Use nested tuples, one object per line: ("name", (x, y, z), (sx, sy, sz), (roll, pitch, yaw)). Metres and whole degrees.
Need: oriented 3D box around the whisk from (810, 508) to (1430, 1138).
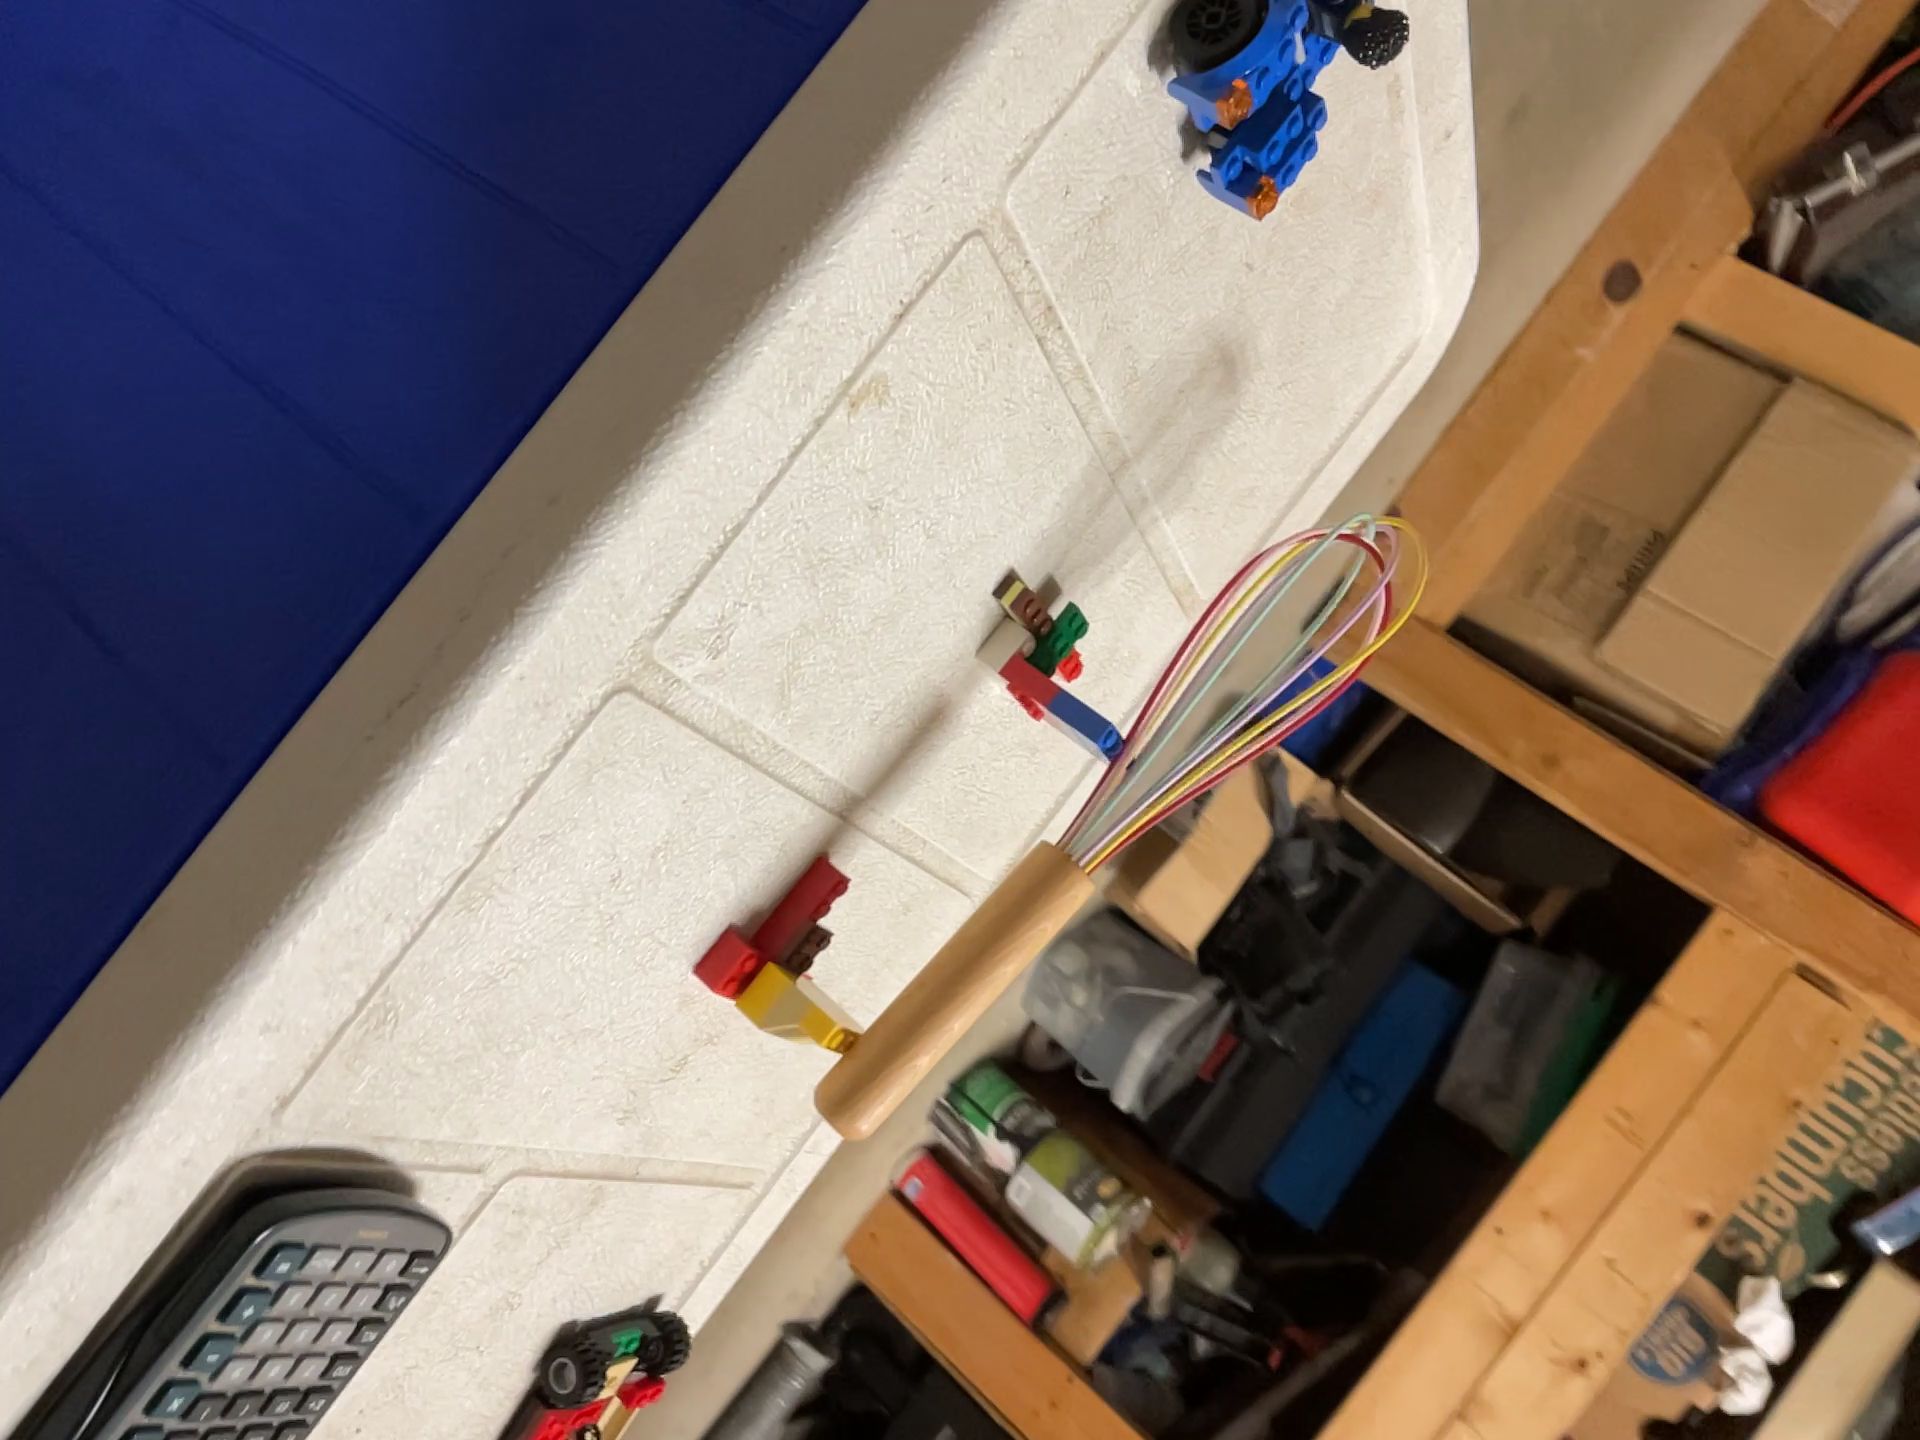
("whisk", (0.049, 0.026, 0.462), (0.245, 0.047, 0.051), (-46, 167, -8))
